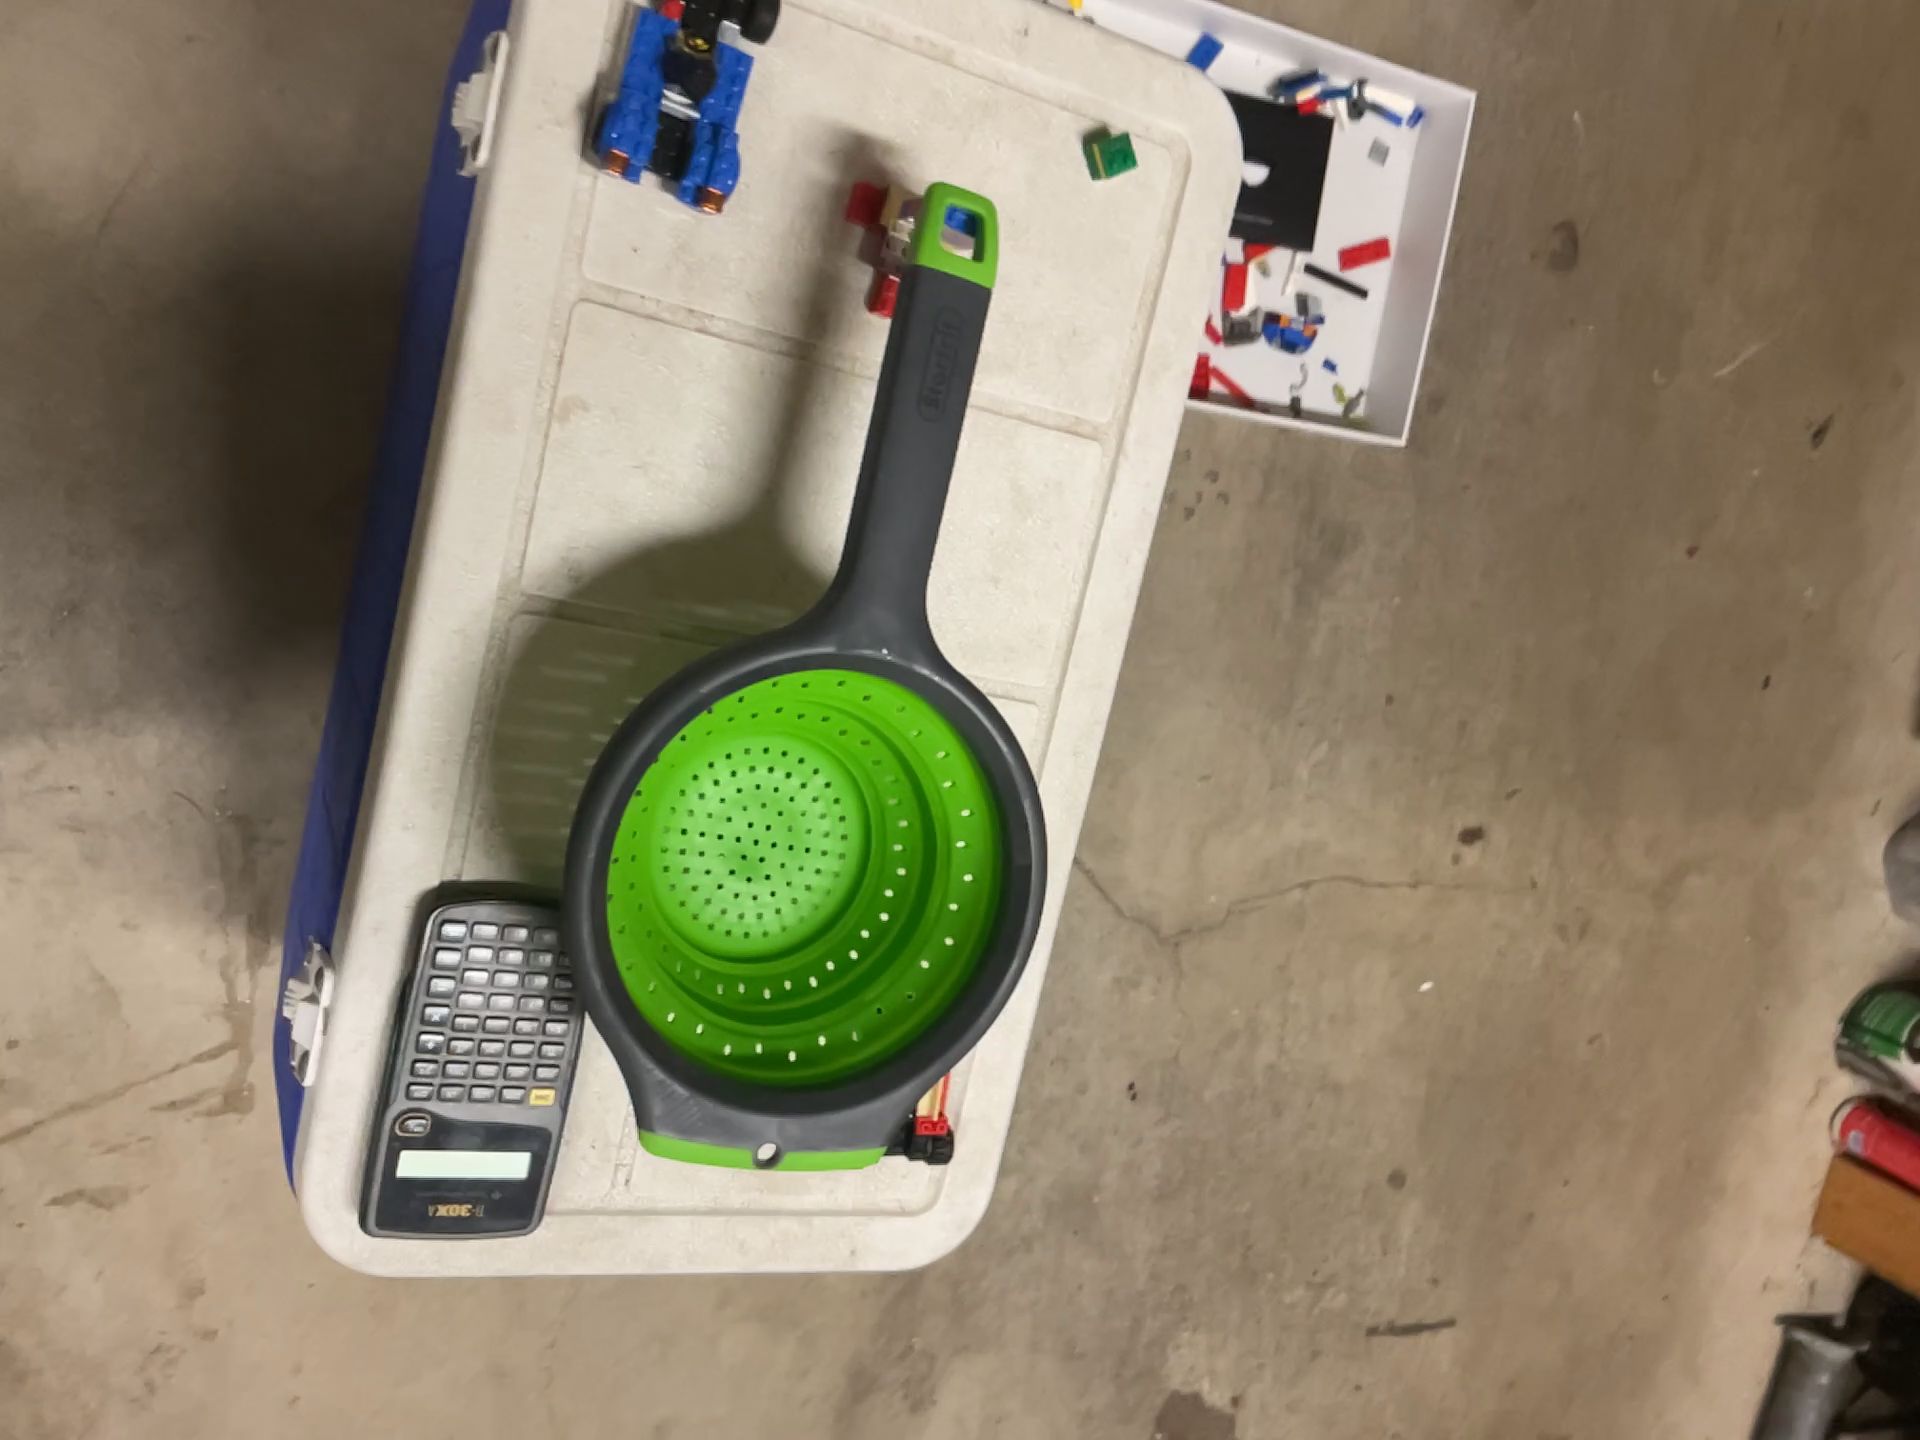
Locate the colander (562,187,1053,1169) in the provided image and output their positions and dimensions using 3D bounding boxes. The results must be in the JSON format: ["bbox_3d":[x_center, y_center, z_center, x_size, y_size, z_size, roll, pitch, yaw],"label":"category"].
[{"bbox_3d":[-0.054,-0.019,0.670,0.204,0.094,0.396,12,92,-25],"label":"colander"}]
